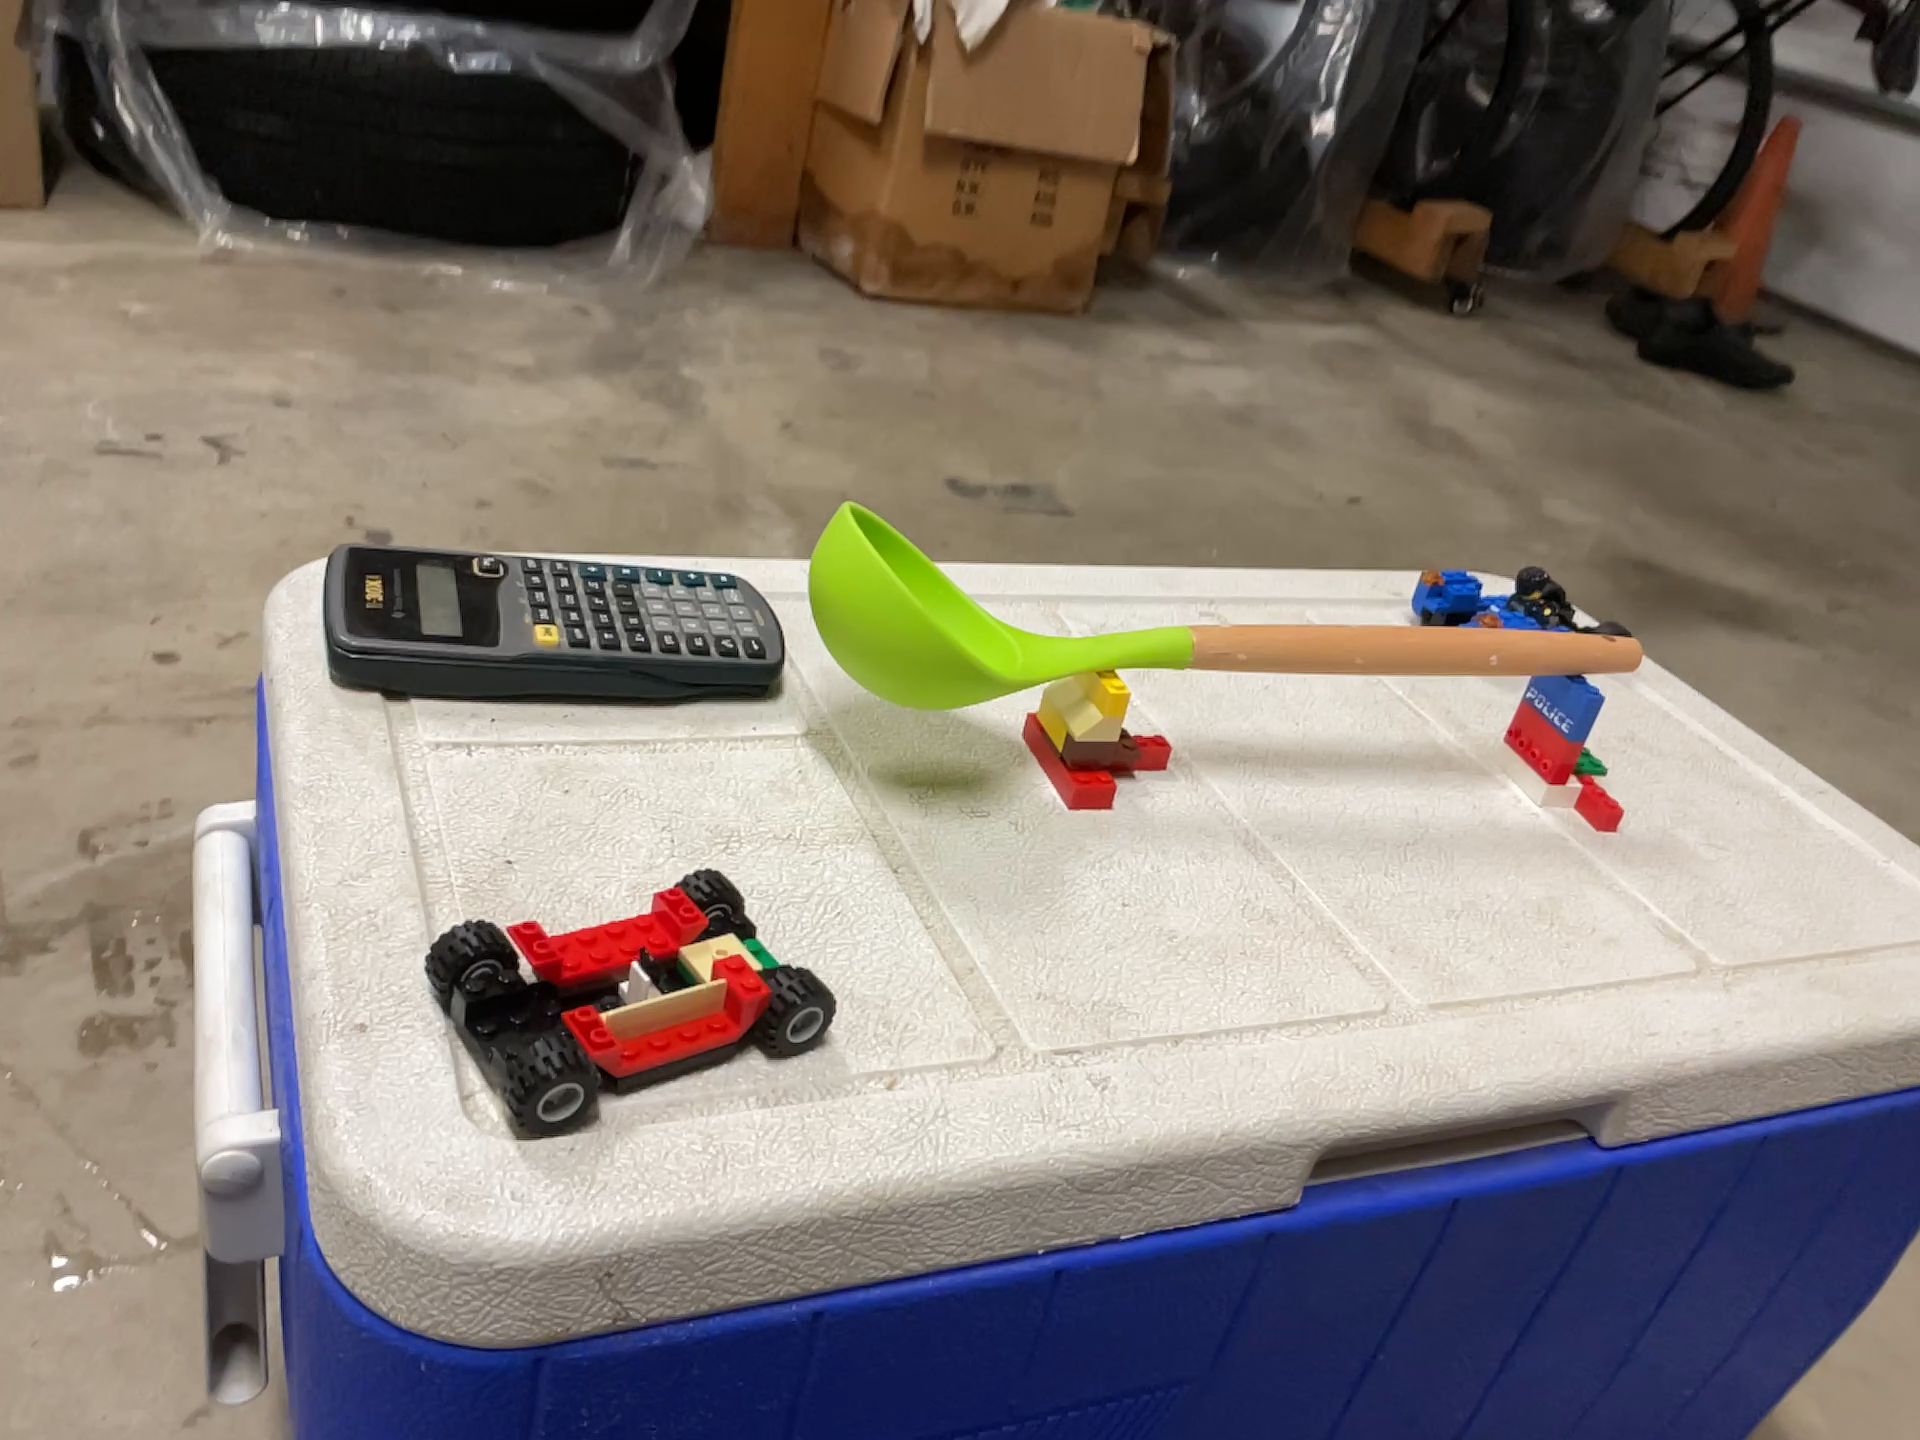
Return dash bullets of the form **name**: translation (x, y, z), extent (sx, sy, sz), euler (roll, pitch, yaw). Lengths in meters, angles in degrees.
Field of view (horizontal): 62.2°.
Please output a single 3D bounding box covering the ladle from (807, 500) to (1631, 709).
- **ladle**: translation (0.103, -0.035, 0.554), extent (0.320, 0.062, 0.078), euler (1, 30, -18)
